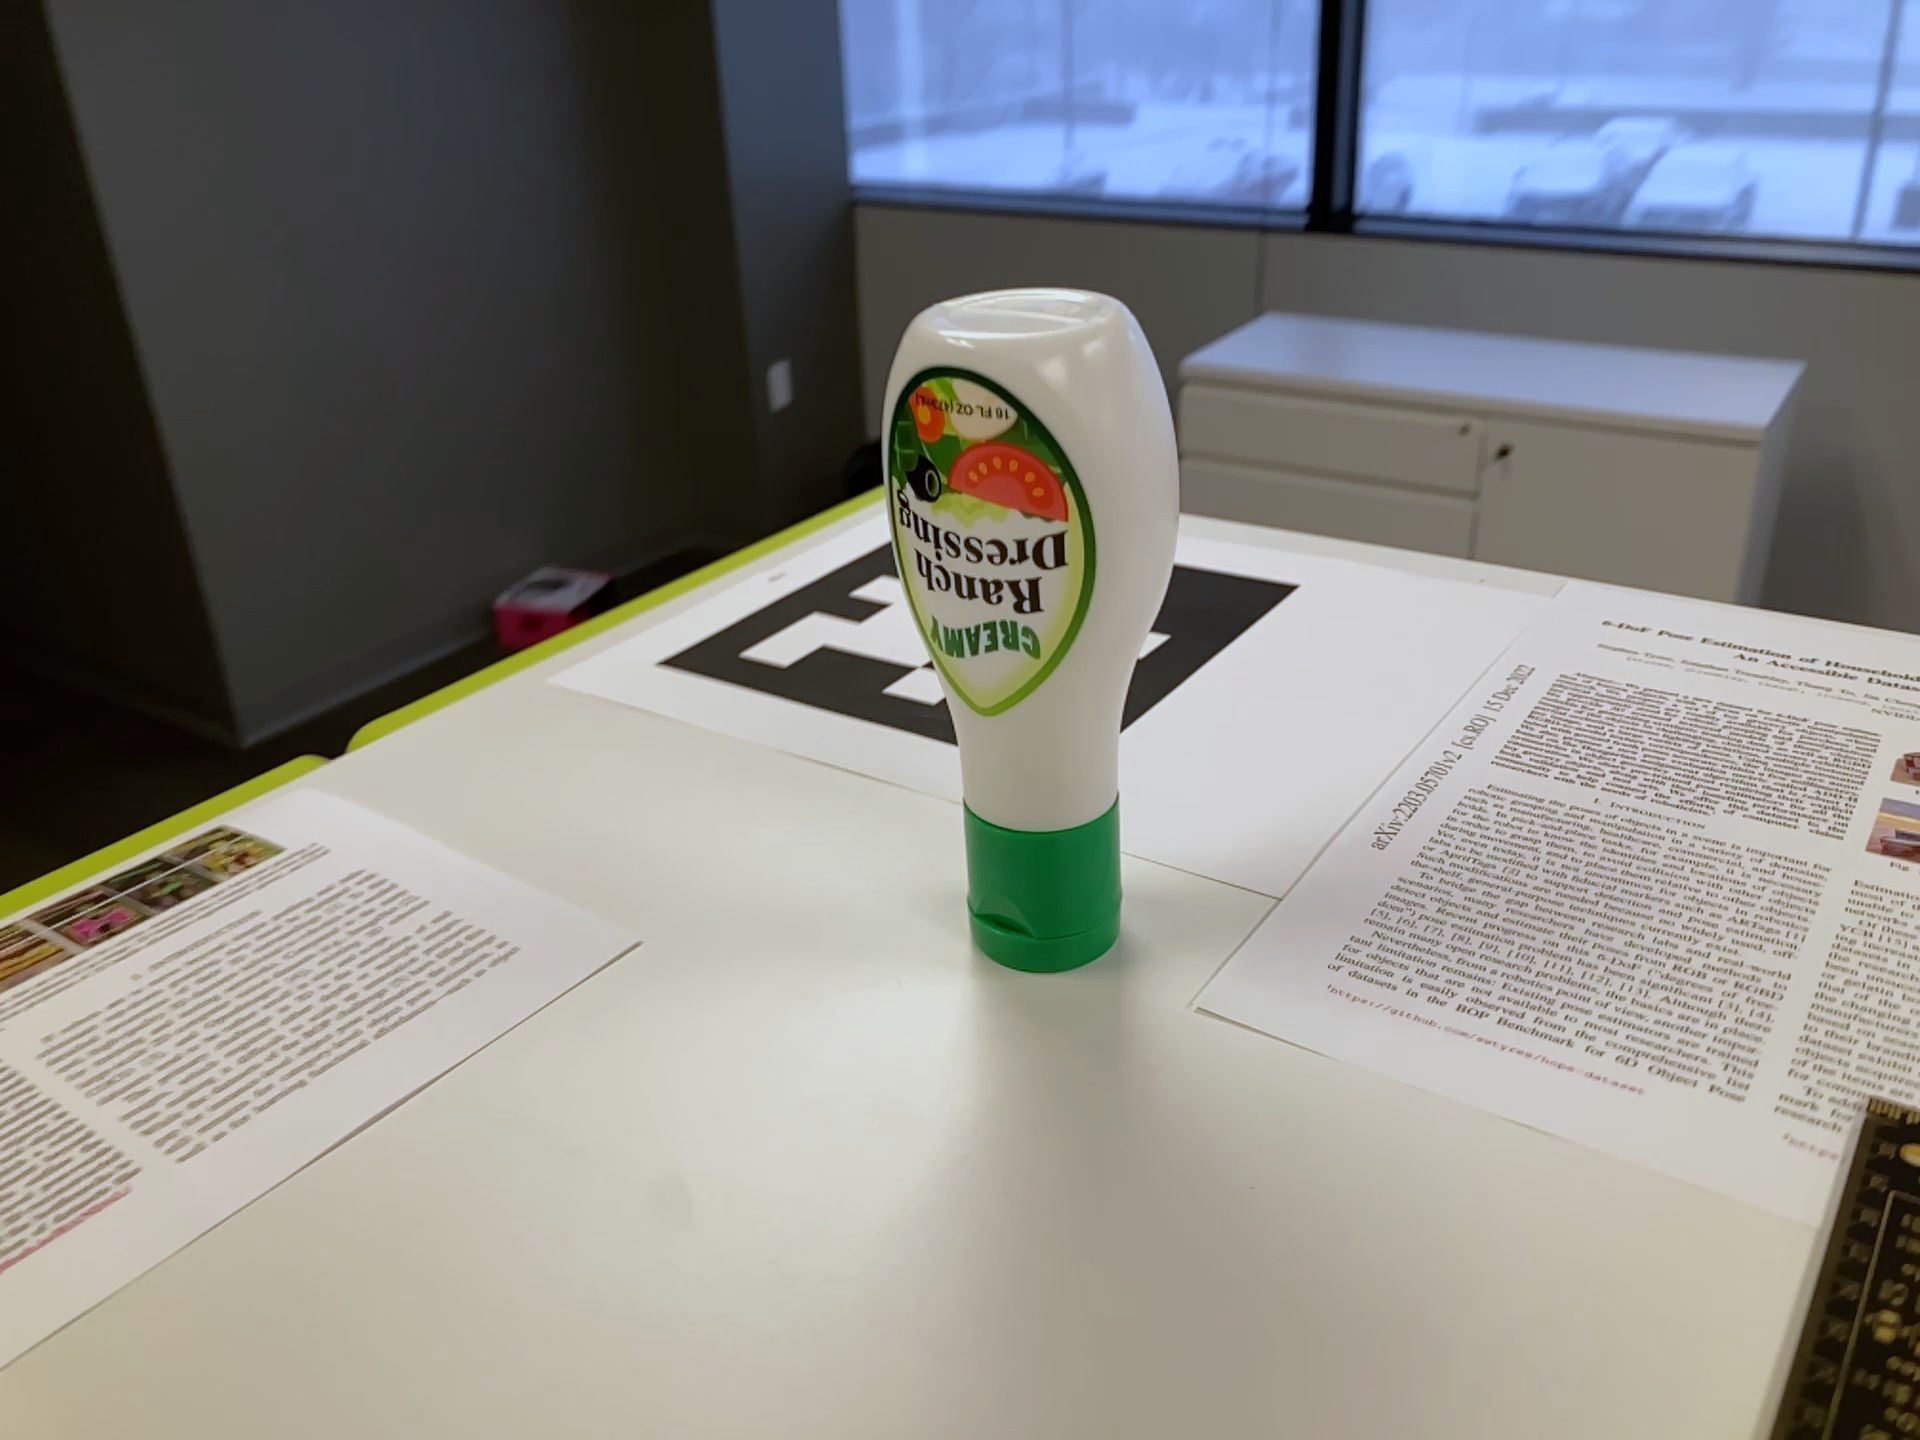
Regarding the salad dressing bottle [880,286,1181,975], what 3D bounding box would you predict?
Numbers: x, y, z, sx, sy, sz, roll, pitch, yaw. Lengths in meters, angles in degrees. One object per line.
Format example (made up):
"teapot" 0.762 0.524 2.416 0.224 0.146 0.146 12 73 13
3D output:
"salad dressing bottle" 0.016 -0.015 0.343 0.064 0.147 0.044 16 33 34
